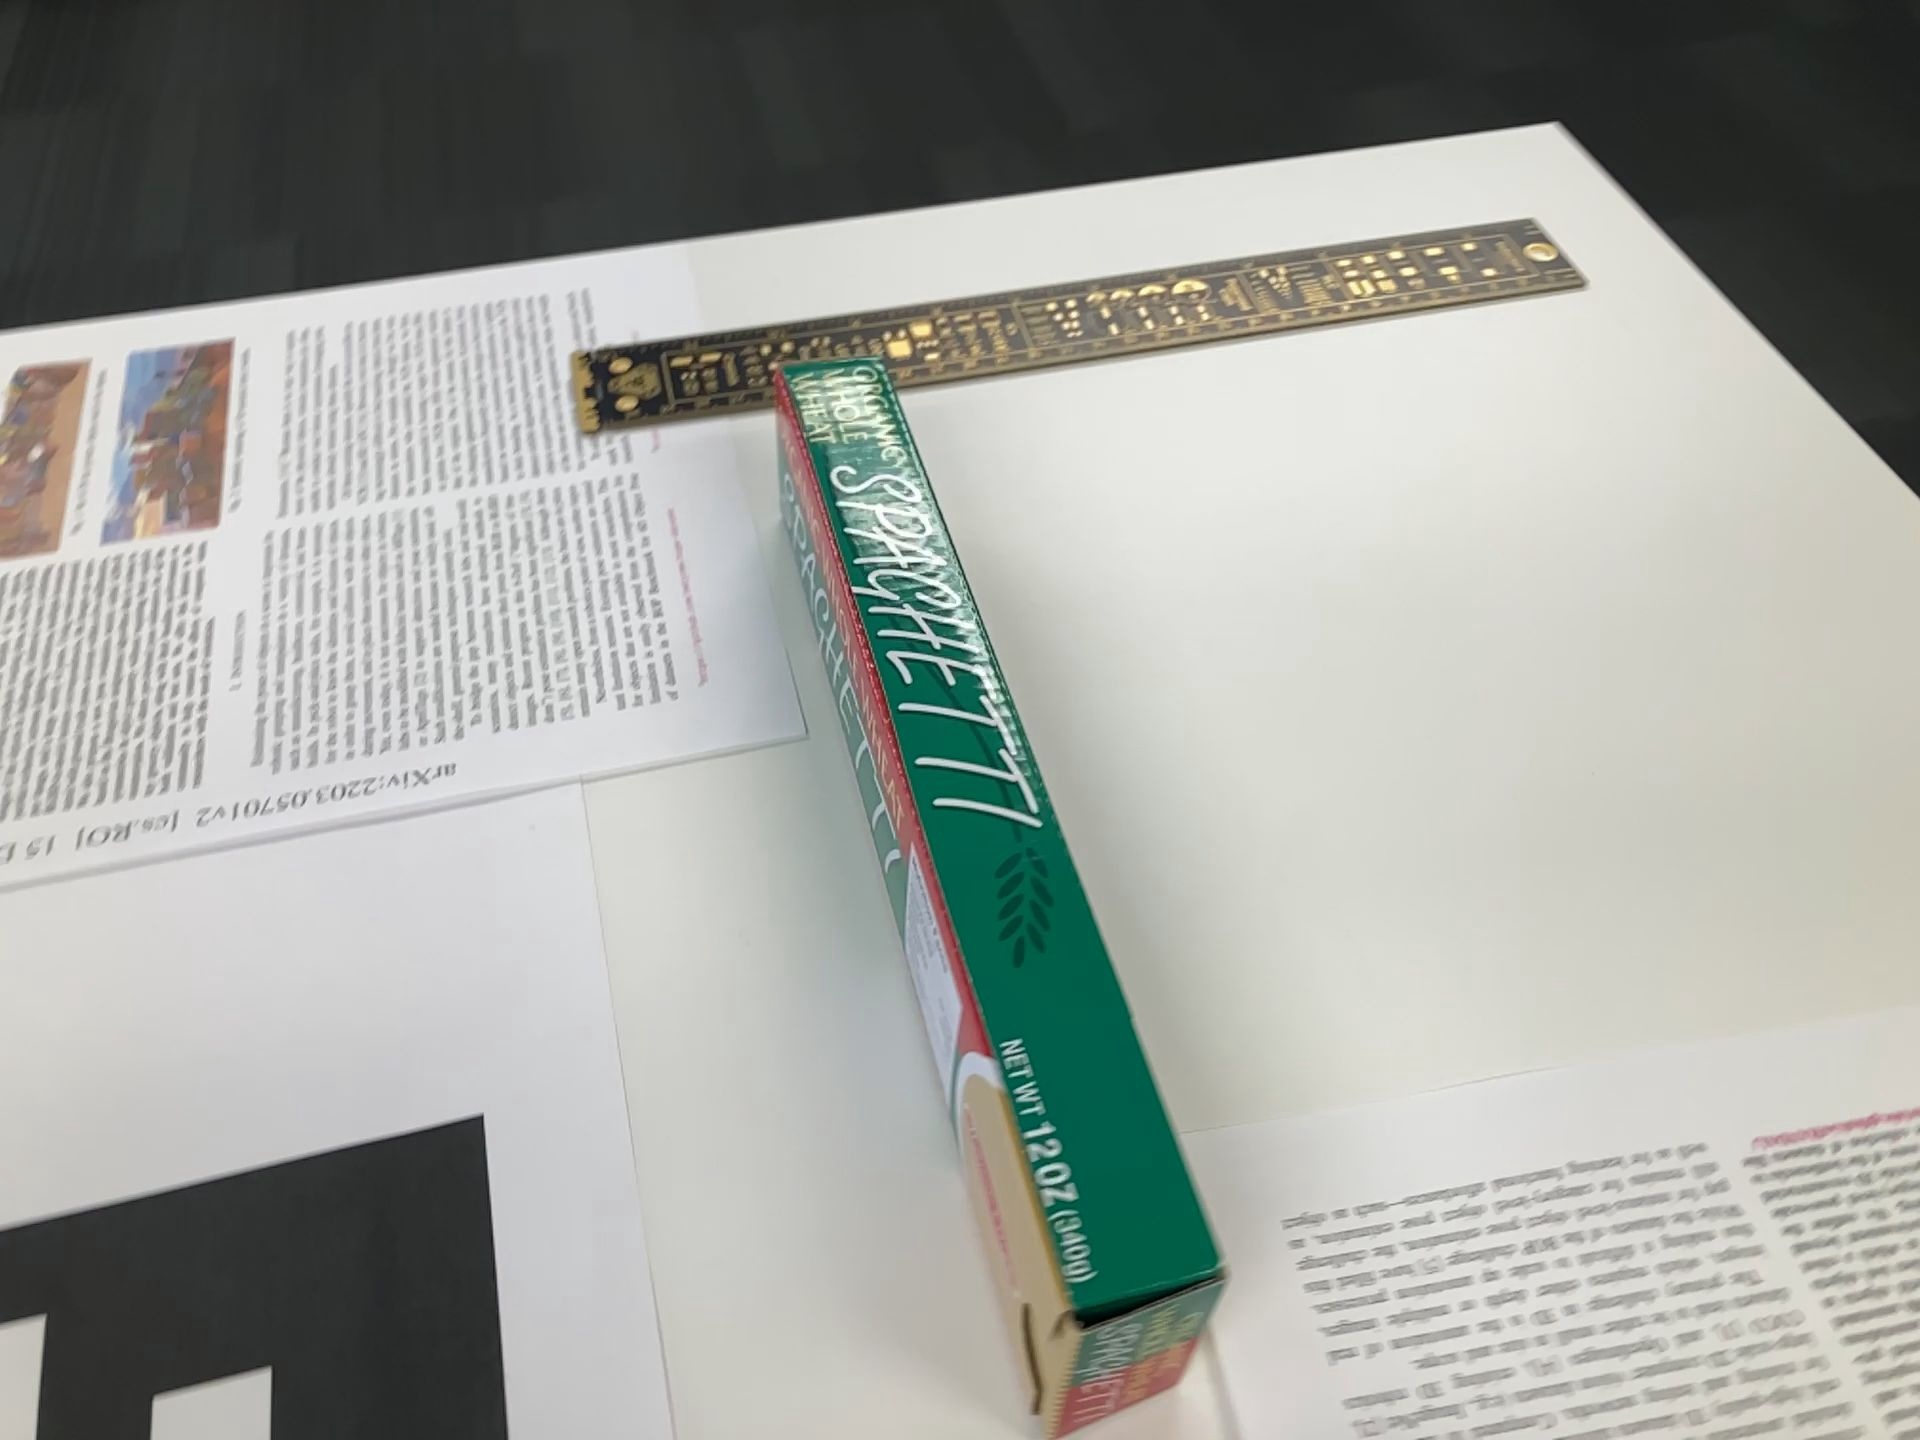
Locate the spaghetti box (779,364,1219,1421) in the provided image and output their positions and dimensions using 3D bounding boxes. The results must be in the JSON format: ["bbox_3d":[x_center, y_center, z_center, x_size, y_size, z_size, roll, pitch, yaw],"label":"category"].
[{"bbox_3d":[-0.004,0.015,0.344,0.028,0.050,0.250,-8,49,-13],"label":"spaghetti box"}]
